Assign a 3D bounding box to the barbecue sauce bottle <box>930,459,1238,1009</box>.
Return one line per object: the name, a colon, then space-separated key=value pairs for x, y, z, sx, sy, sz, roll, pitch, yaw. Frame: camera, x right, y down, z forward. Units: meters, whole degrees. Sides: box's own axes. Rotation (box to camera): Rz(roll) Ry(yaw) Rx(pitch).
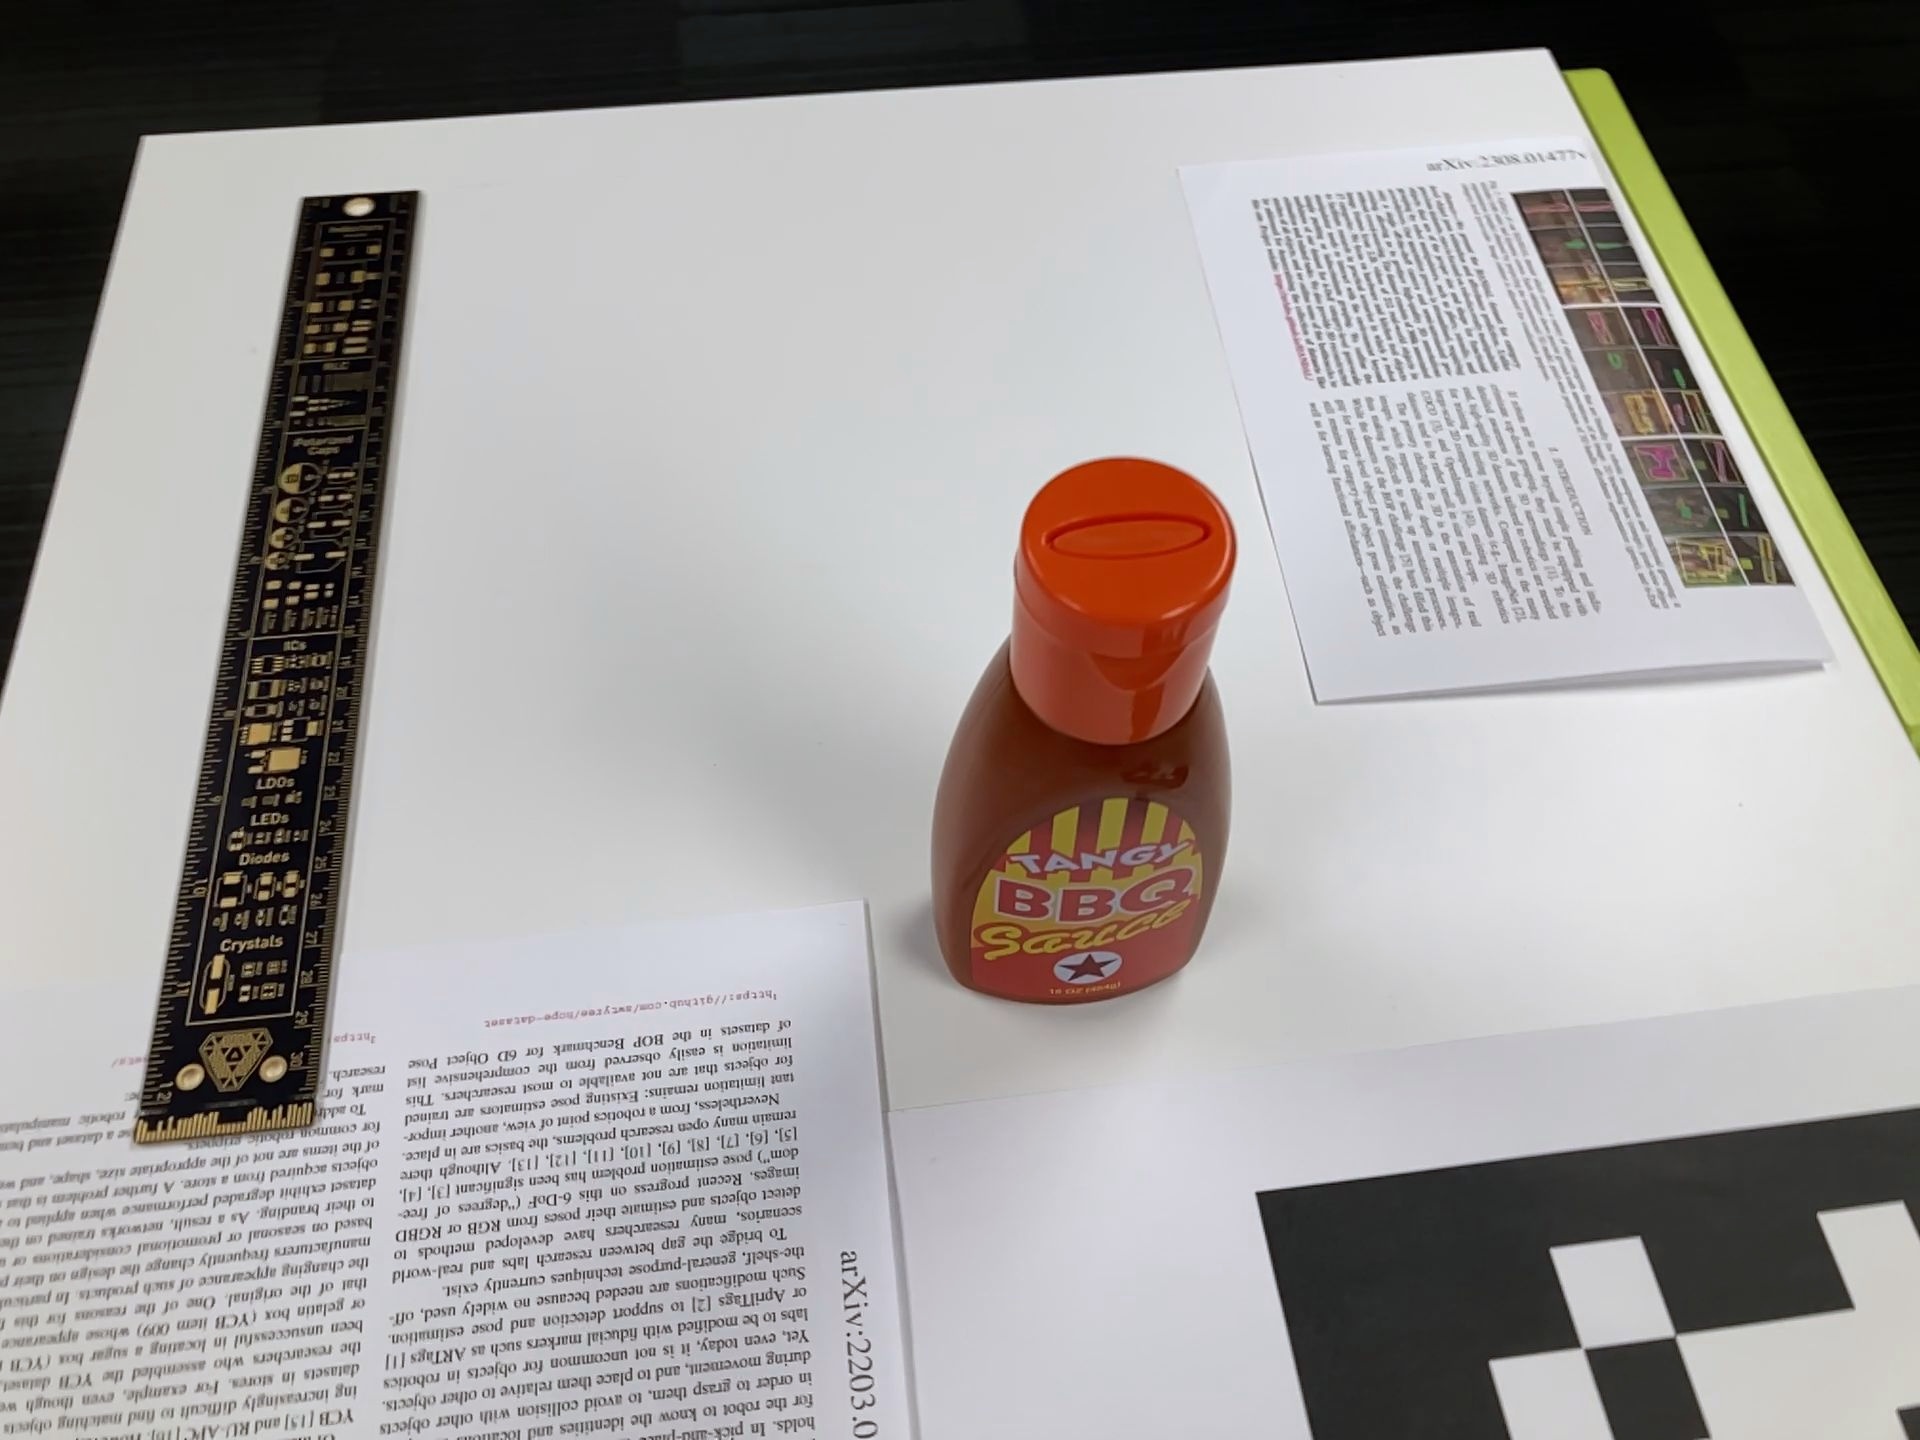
barbecue sauce bottle: x=0.026 y=0.010 z=0.324 sx=0.065 sy=0.148 sz=0.043 roll=-4 pitch=56 yaw=-4
